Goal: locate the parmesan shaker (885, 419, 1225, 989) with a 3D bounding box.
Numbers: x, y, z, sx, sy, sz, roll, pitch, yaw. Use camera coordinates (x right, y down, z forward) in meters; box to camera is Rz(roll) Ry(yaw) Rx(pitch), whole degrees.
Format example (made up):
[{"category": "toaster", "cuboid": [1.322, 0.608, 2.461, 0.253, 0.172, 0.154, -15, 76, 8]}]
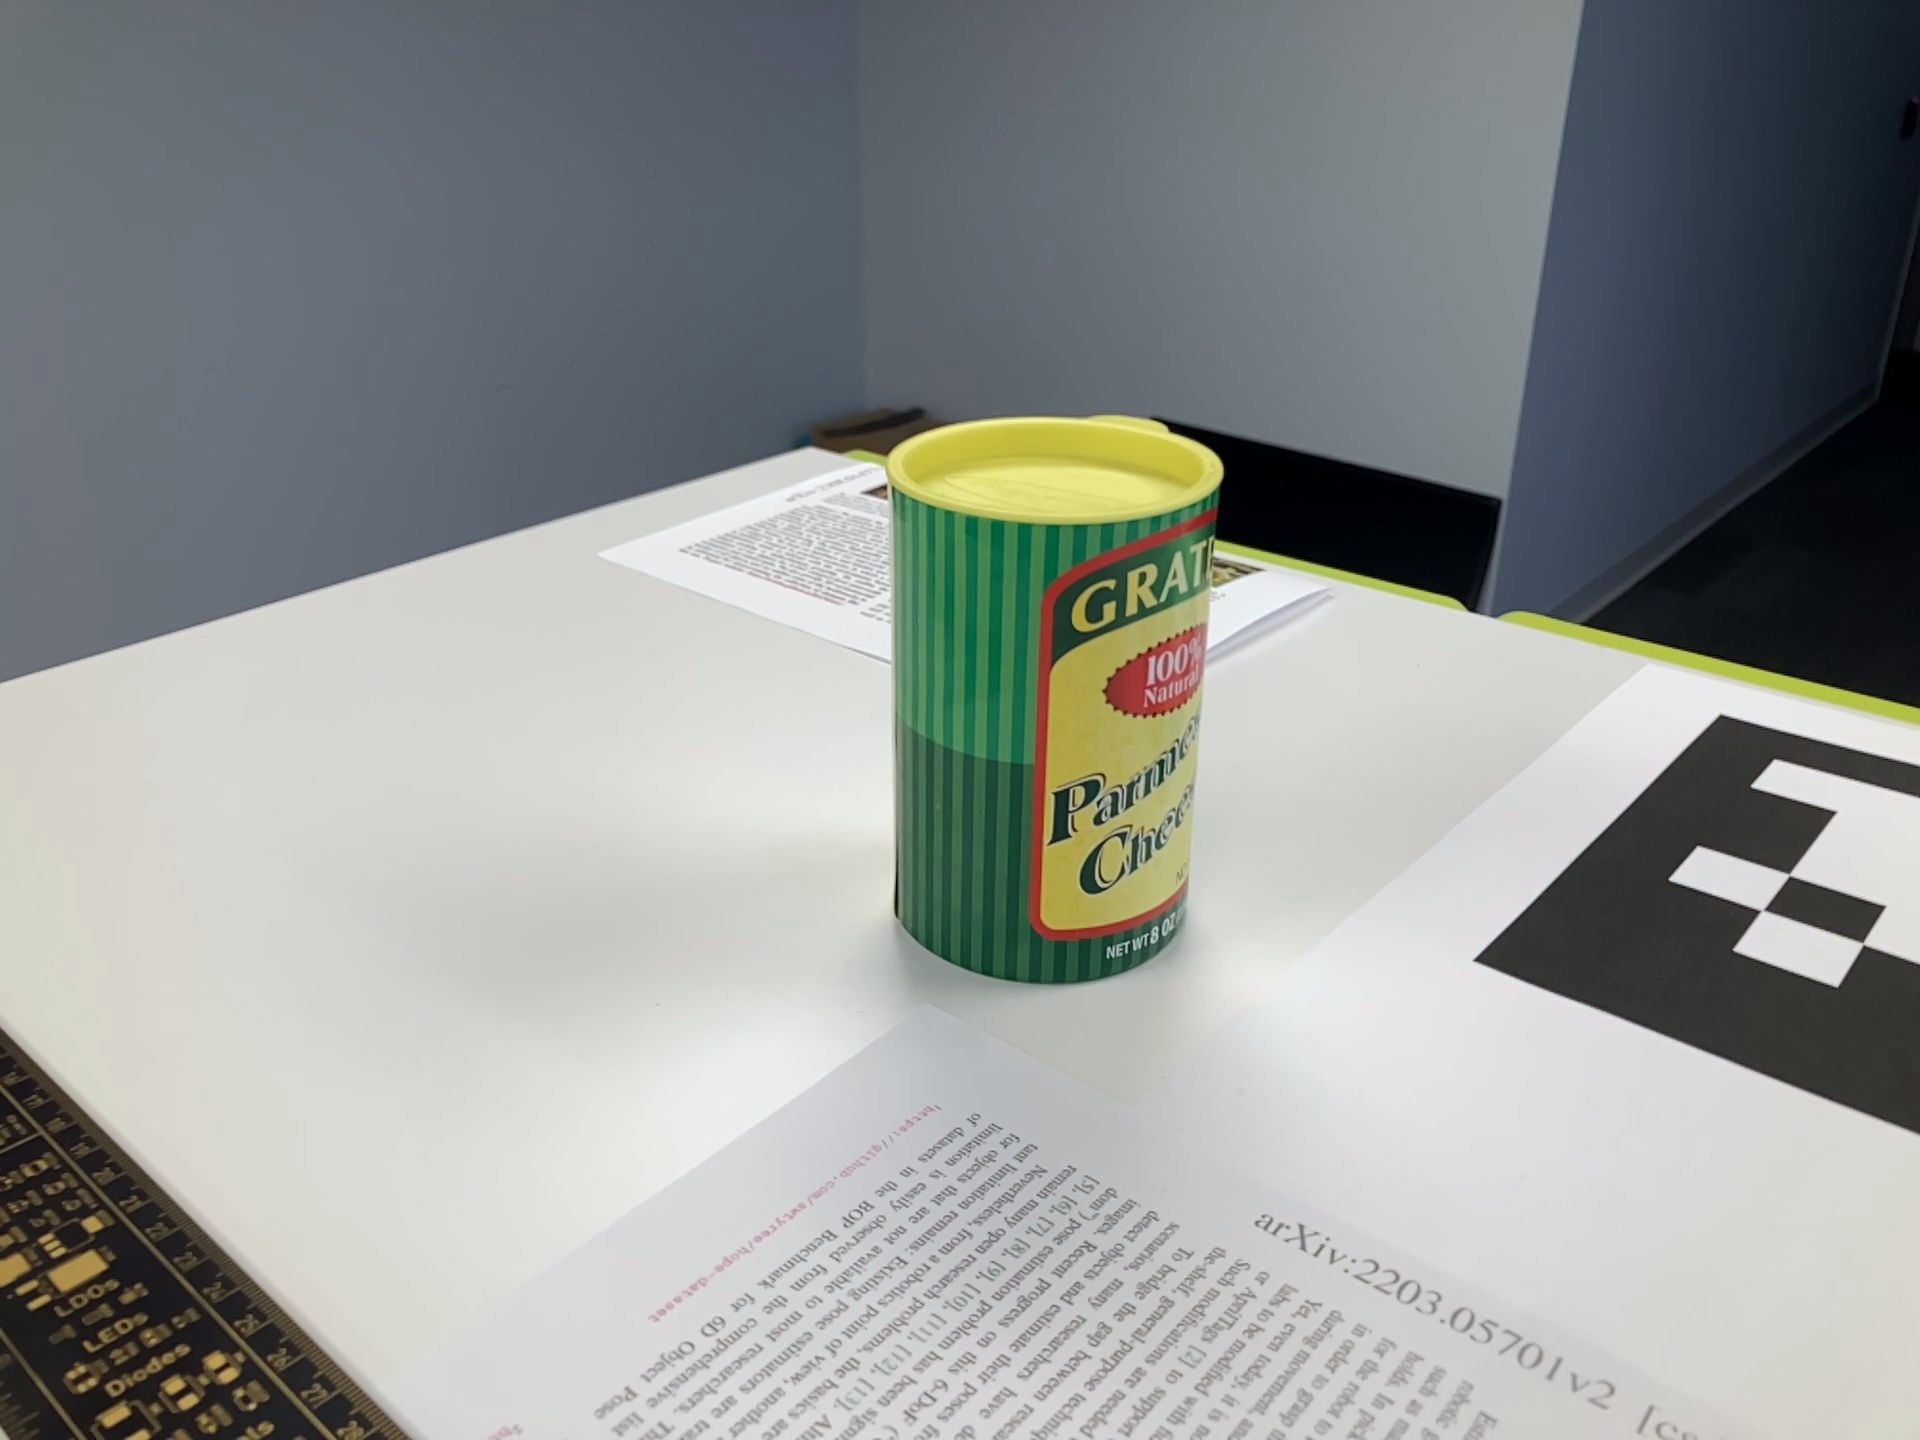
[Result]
[{"category": "parmesan shaker", "cuboid": [0.020, -0.005, 0.334, 0.071, 0.103, 0.071, 0, 26, 0]}]
